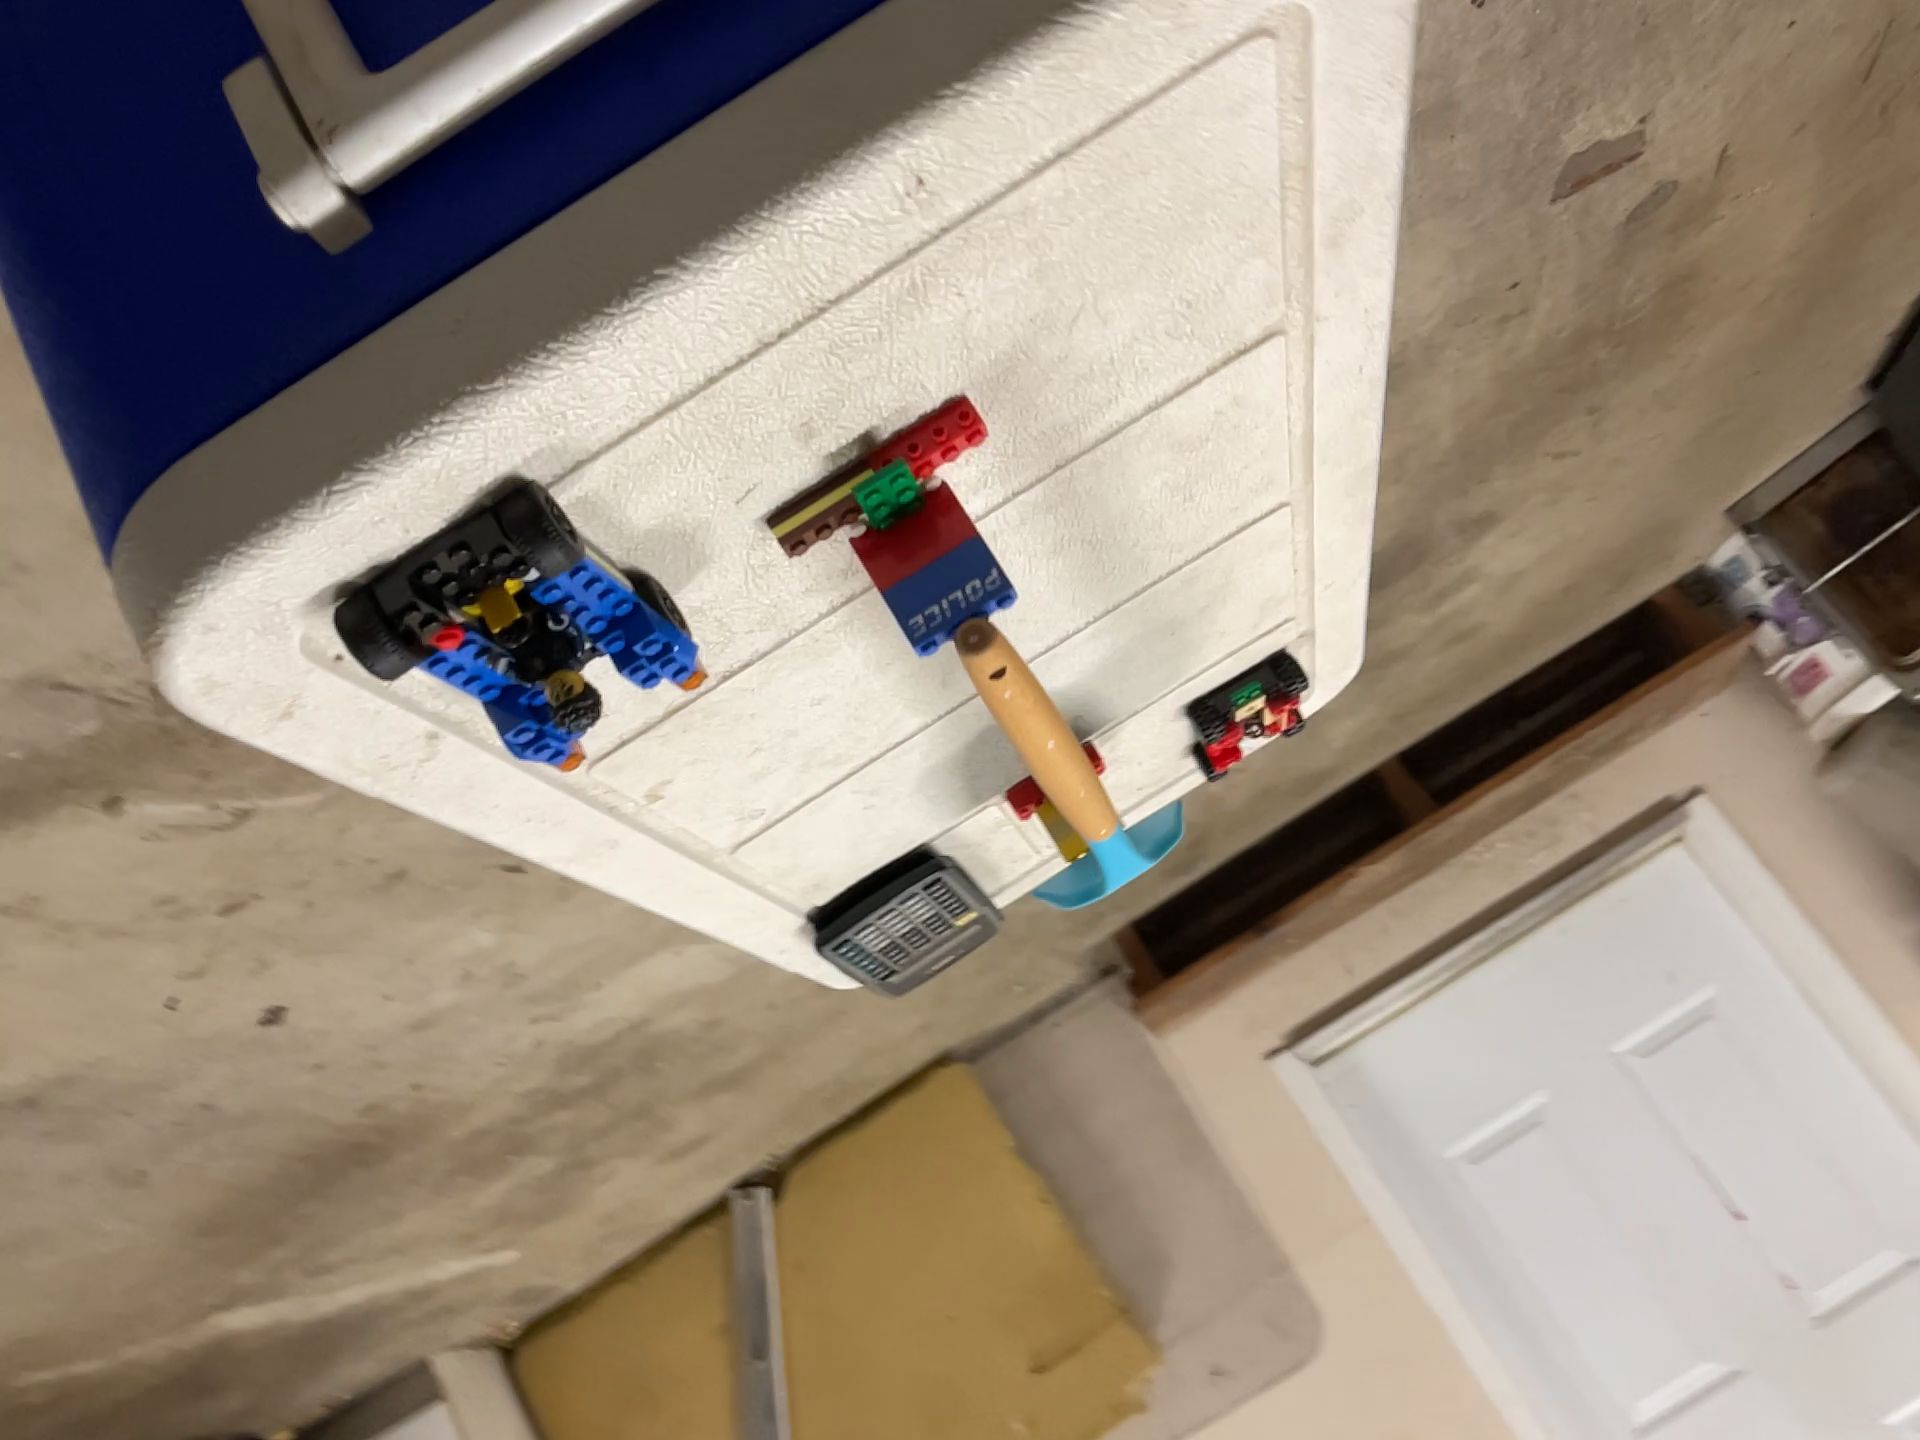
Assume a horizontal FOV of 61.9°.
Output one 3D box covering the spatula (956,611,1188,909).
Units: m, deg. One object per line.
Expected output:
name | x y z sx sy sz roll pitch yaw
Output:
spatula | 0.038 0.021 0.568 0.082 0.044 0.317 -31 156 2
